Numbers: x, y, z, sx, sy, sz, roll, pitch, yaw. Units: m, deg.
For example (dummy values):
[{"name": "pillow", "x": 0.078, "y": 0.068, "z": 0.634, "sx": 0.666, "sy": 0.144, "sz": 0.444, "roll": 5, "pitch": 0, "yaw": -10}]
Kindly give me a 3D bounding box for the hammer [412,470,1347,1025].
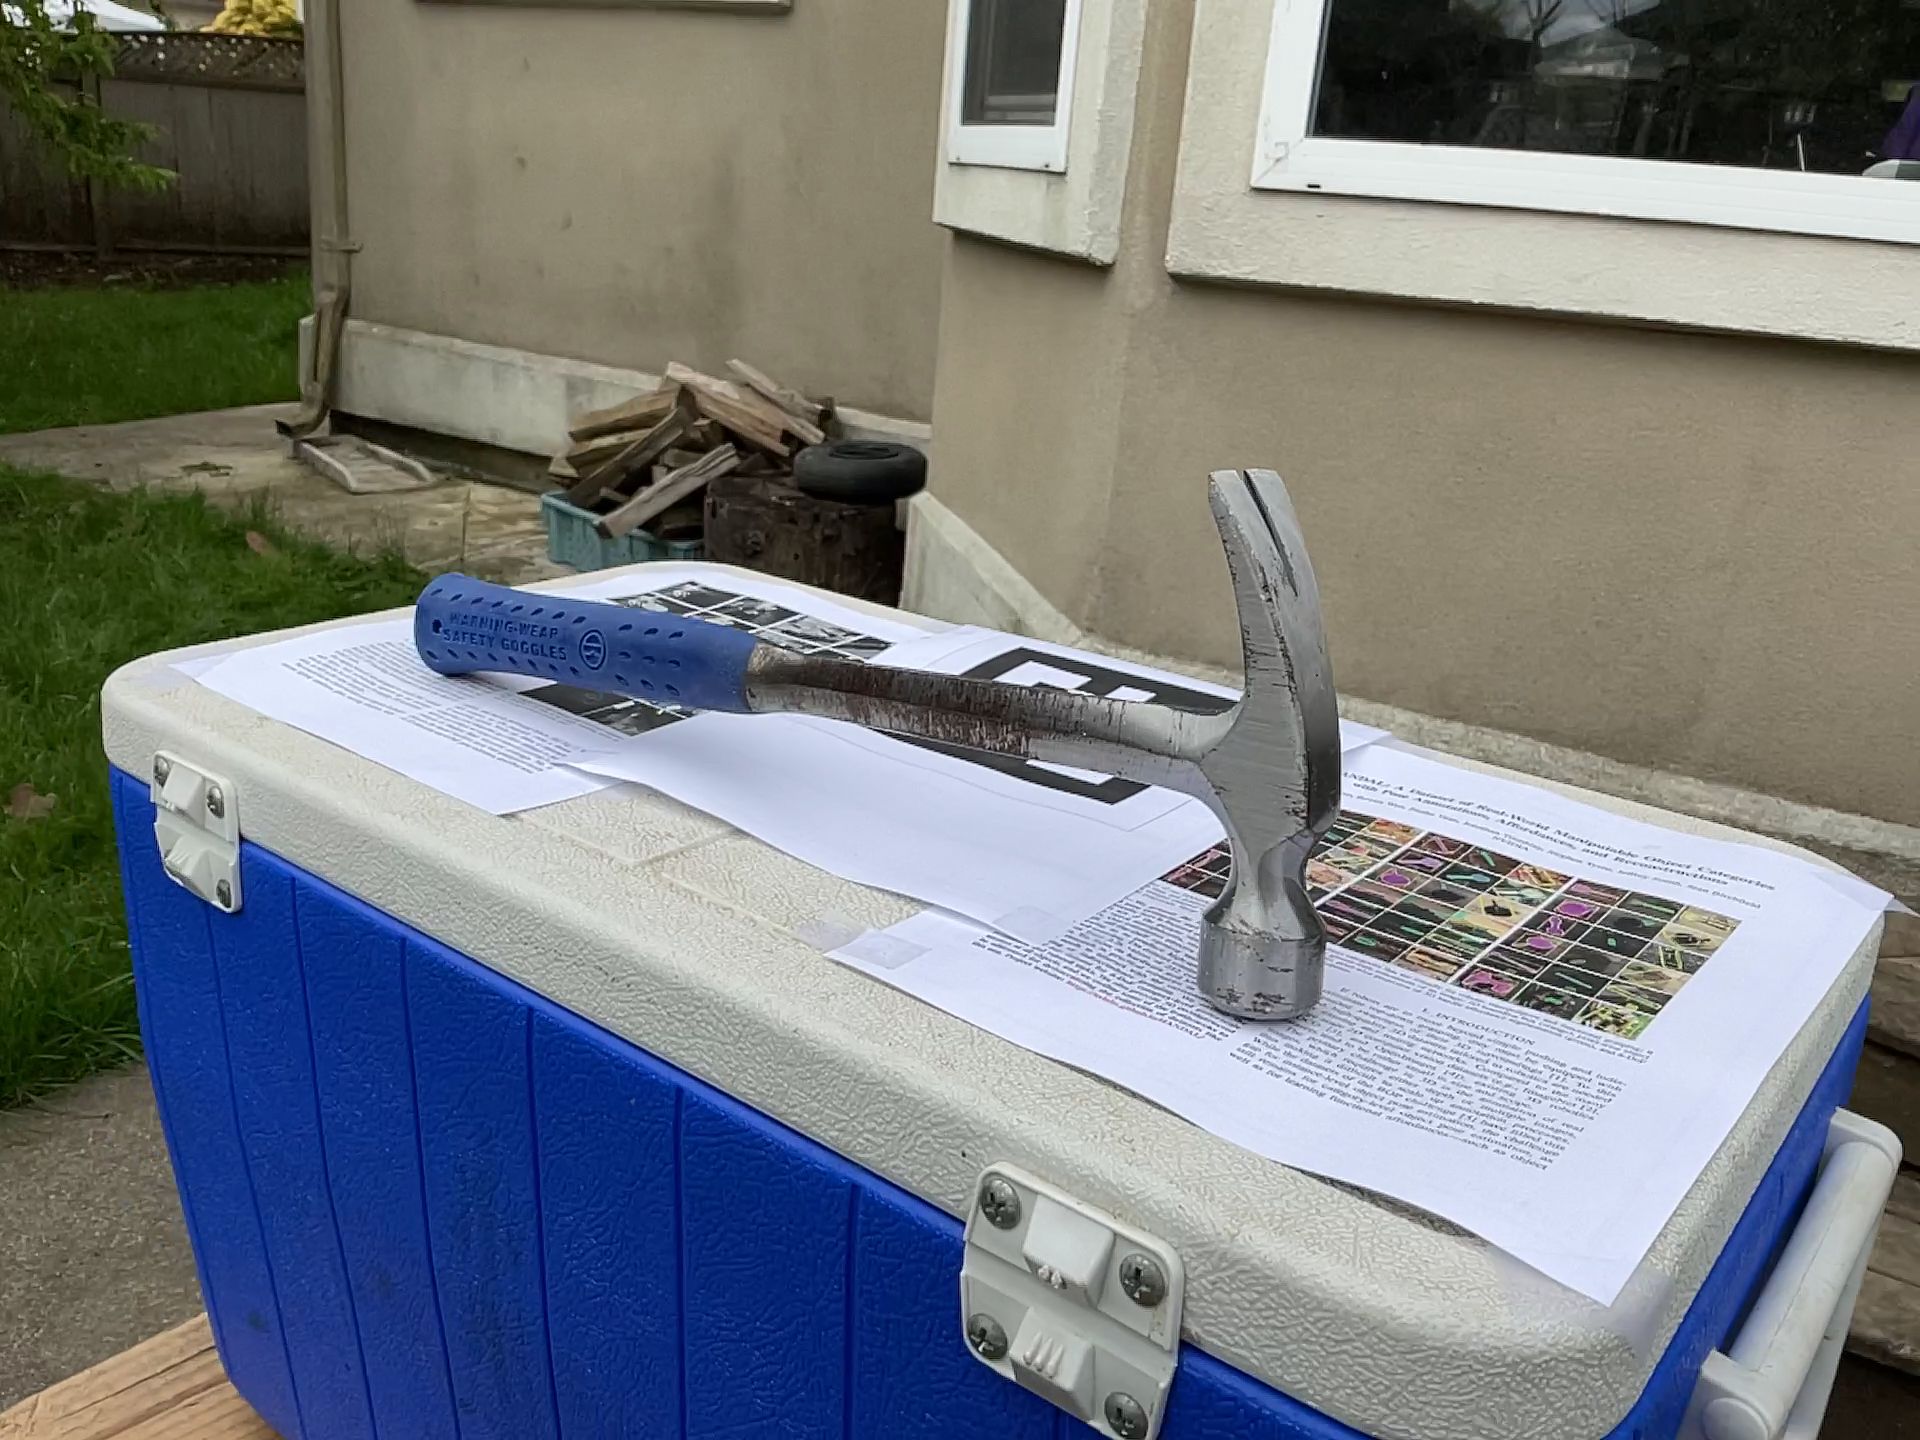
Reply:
[{"name": "hammer", "x": -0.058, "y": -0.018, "z": 0.538, "sx": 0.406, "sy": 0.144, "sz": 0.035, "roll": 10, "pitch": 13, "yaw": 39}]
